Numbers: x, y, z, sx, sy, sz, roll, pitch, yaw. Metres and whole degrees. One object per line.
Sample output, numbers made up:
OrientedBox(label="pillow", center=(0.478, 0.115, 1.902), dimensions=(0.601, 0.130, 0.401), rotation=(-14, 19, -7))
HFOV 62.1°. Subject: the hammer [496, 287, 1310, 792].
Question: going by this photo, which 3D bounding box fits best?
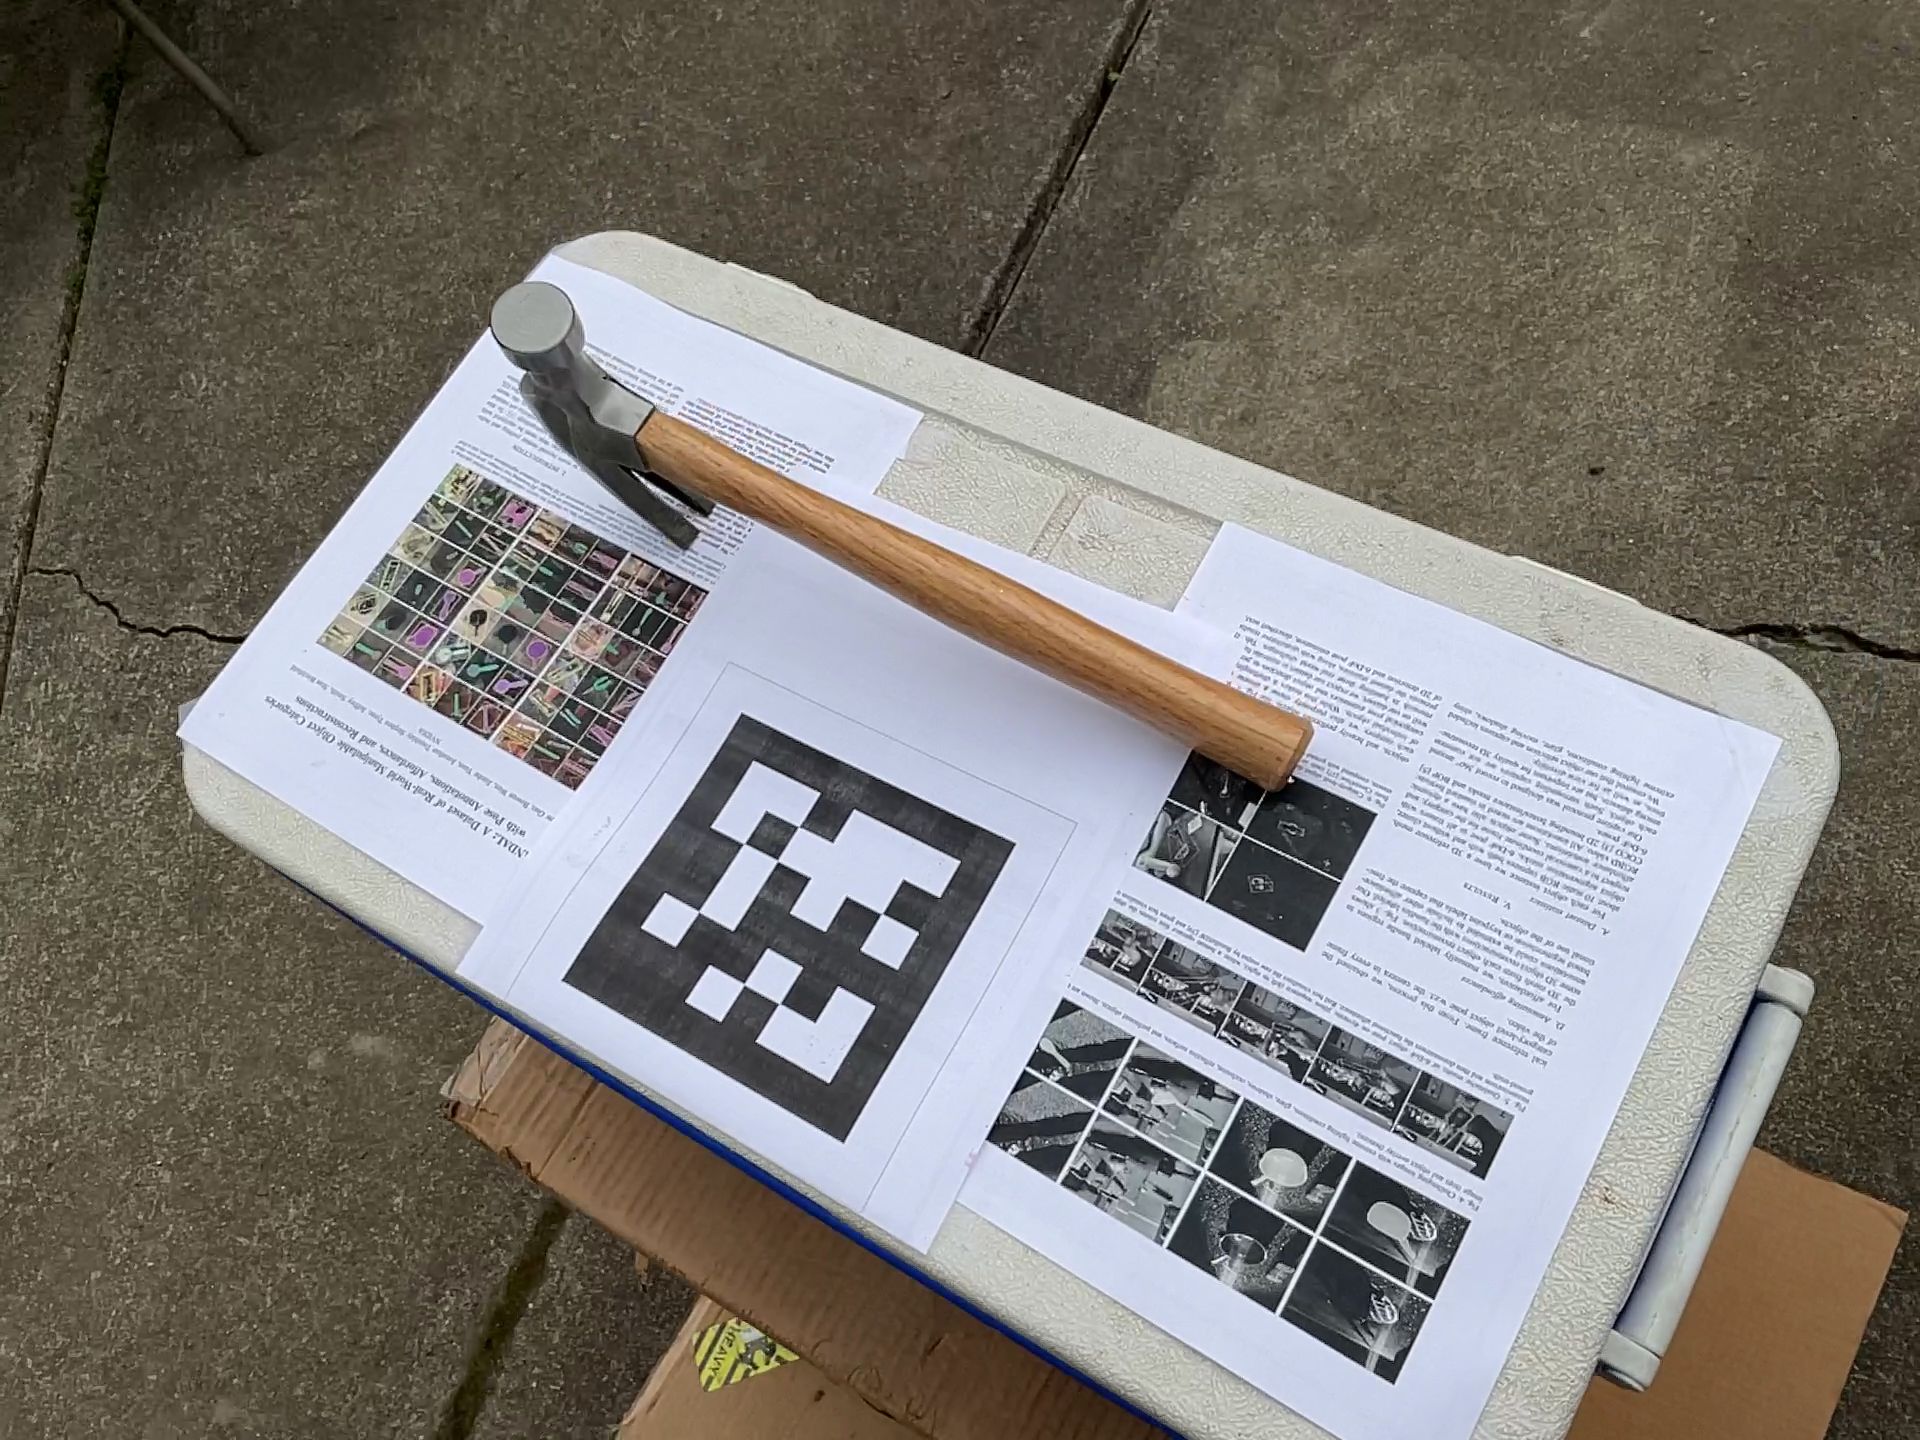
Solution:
OrientedBox(label="hammer", center=(-0.022, -0.059, 0.617), dimensions=(0.331, 0.130, 0.031), rotation=(27, 75, 10))
